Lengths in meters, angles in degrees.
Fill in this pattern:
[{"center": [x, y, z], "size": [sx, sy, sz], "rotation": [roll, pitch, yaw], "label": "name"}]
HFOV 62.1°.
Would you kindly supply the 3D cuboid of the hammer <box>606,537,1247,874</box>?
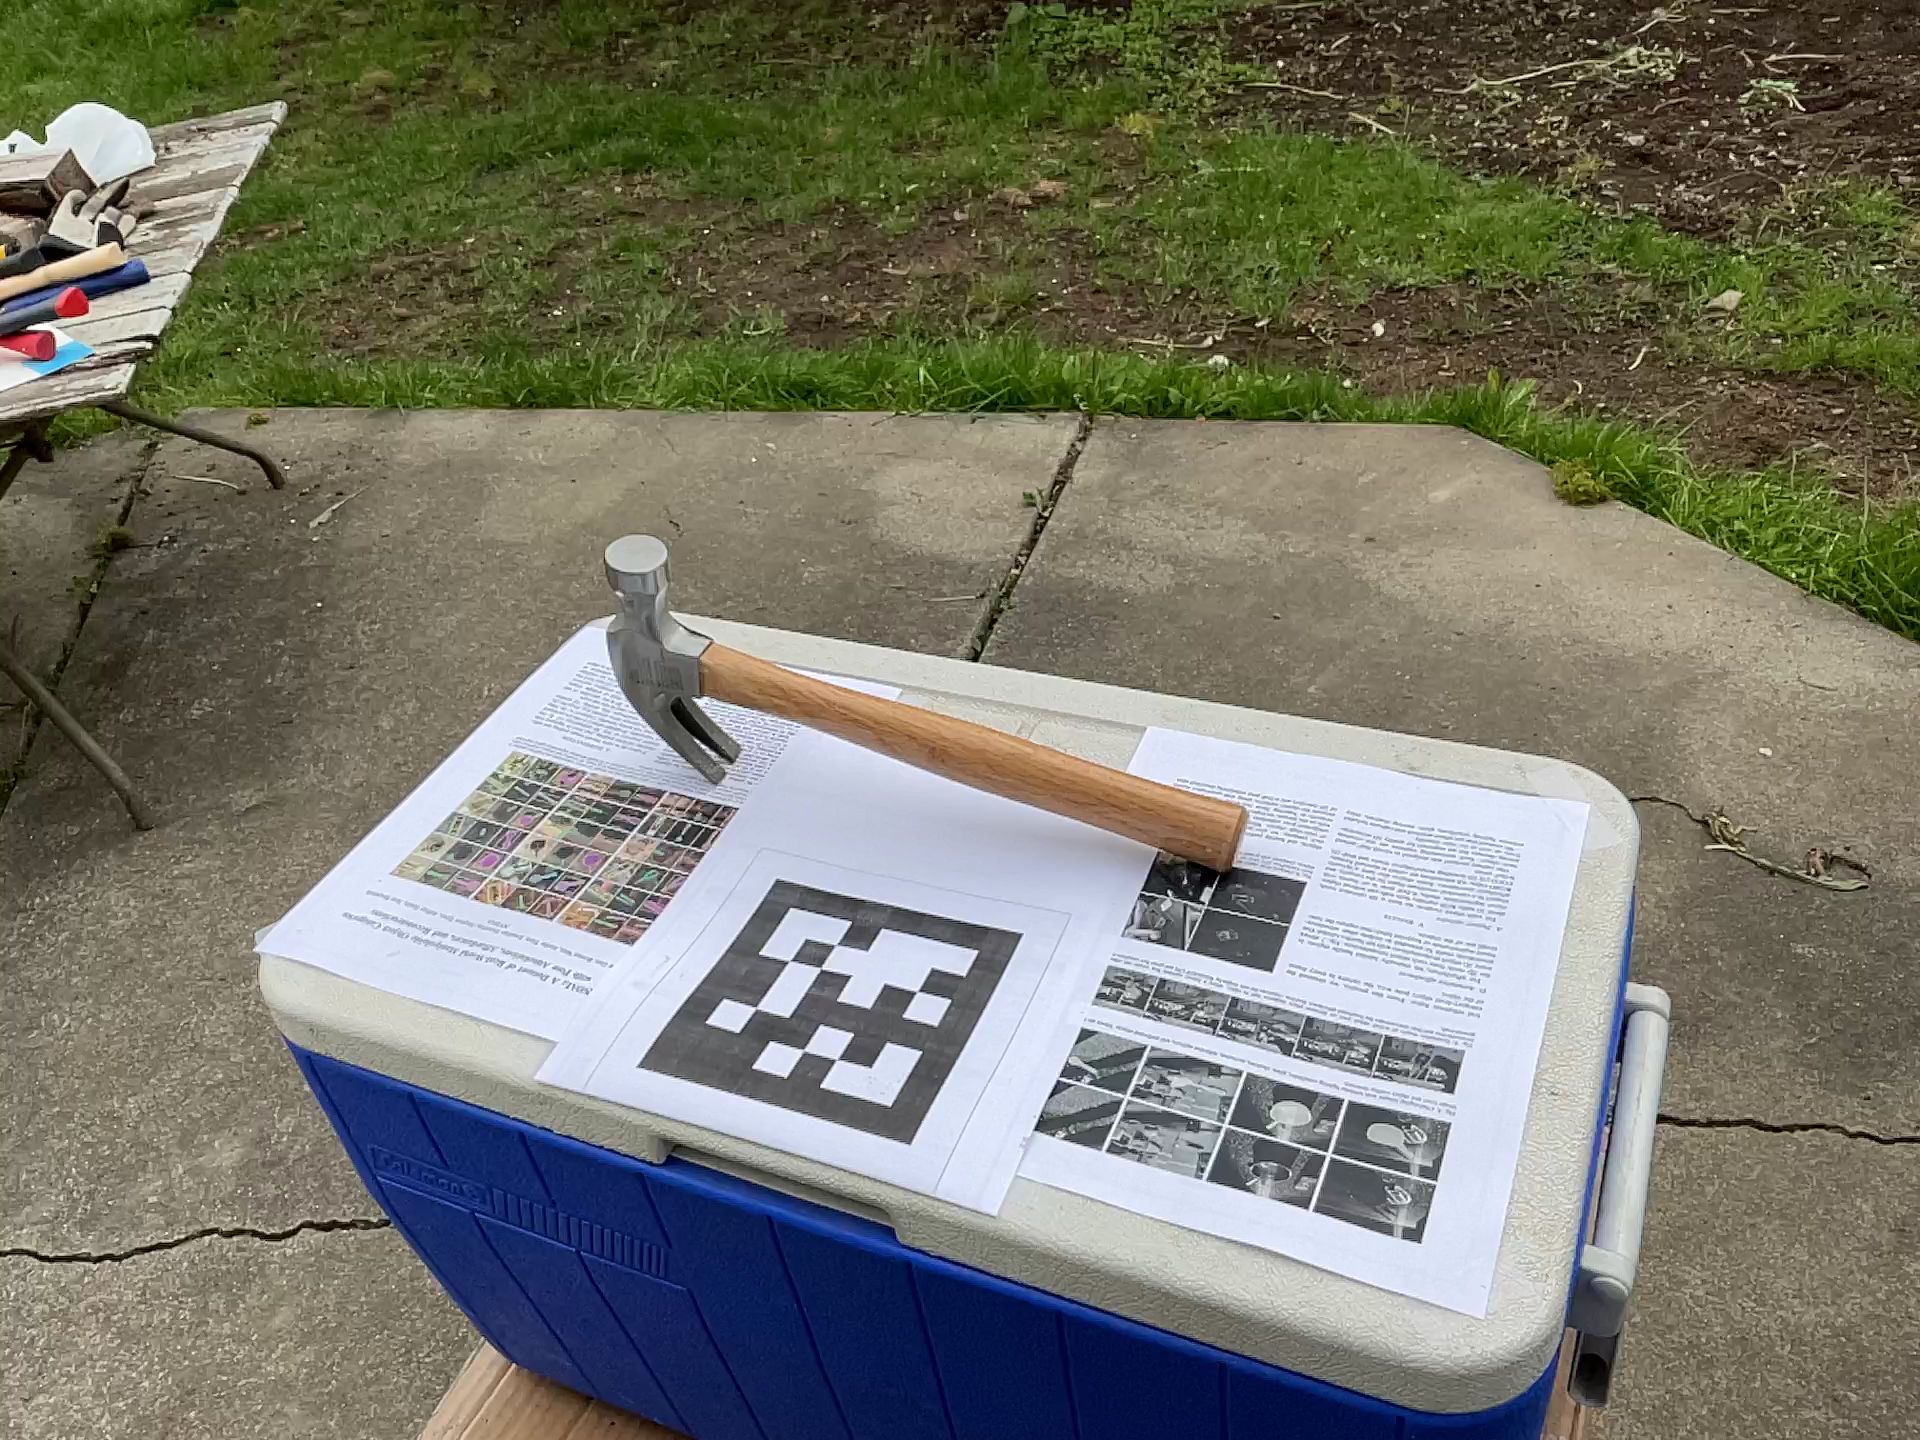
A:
[{"center": [-0.024, 0.010, 0.787], "size": [0.331, 0.130, 0.031], "rotation": [18, 45, 14], "label": "hammer"}]
